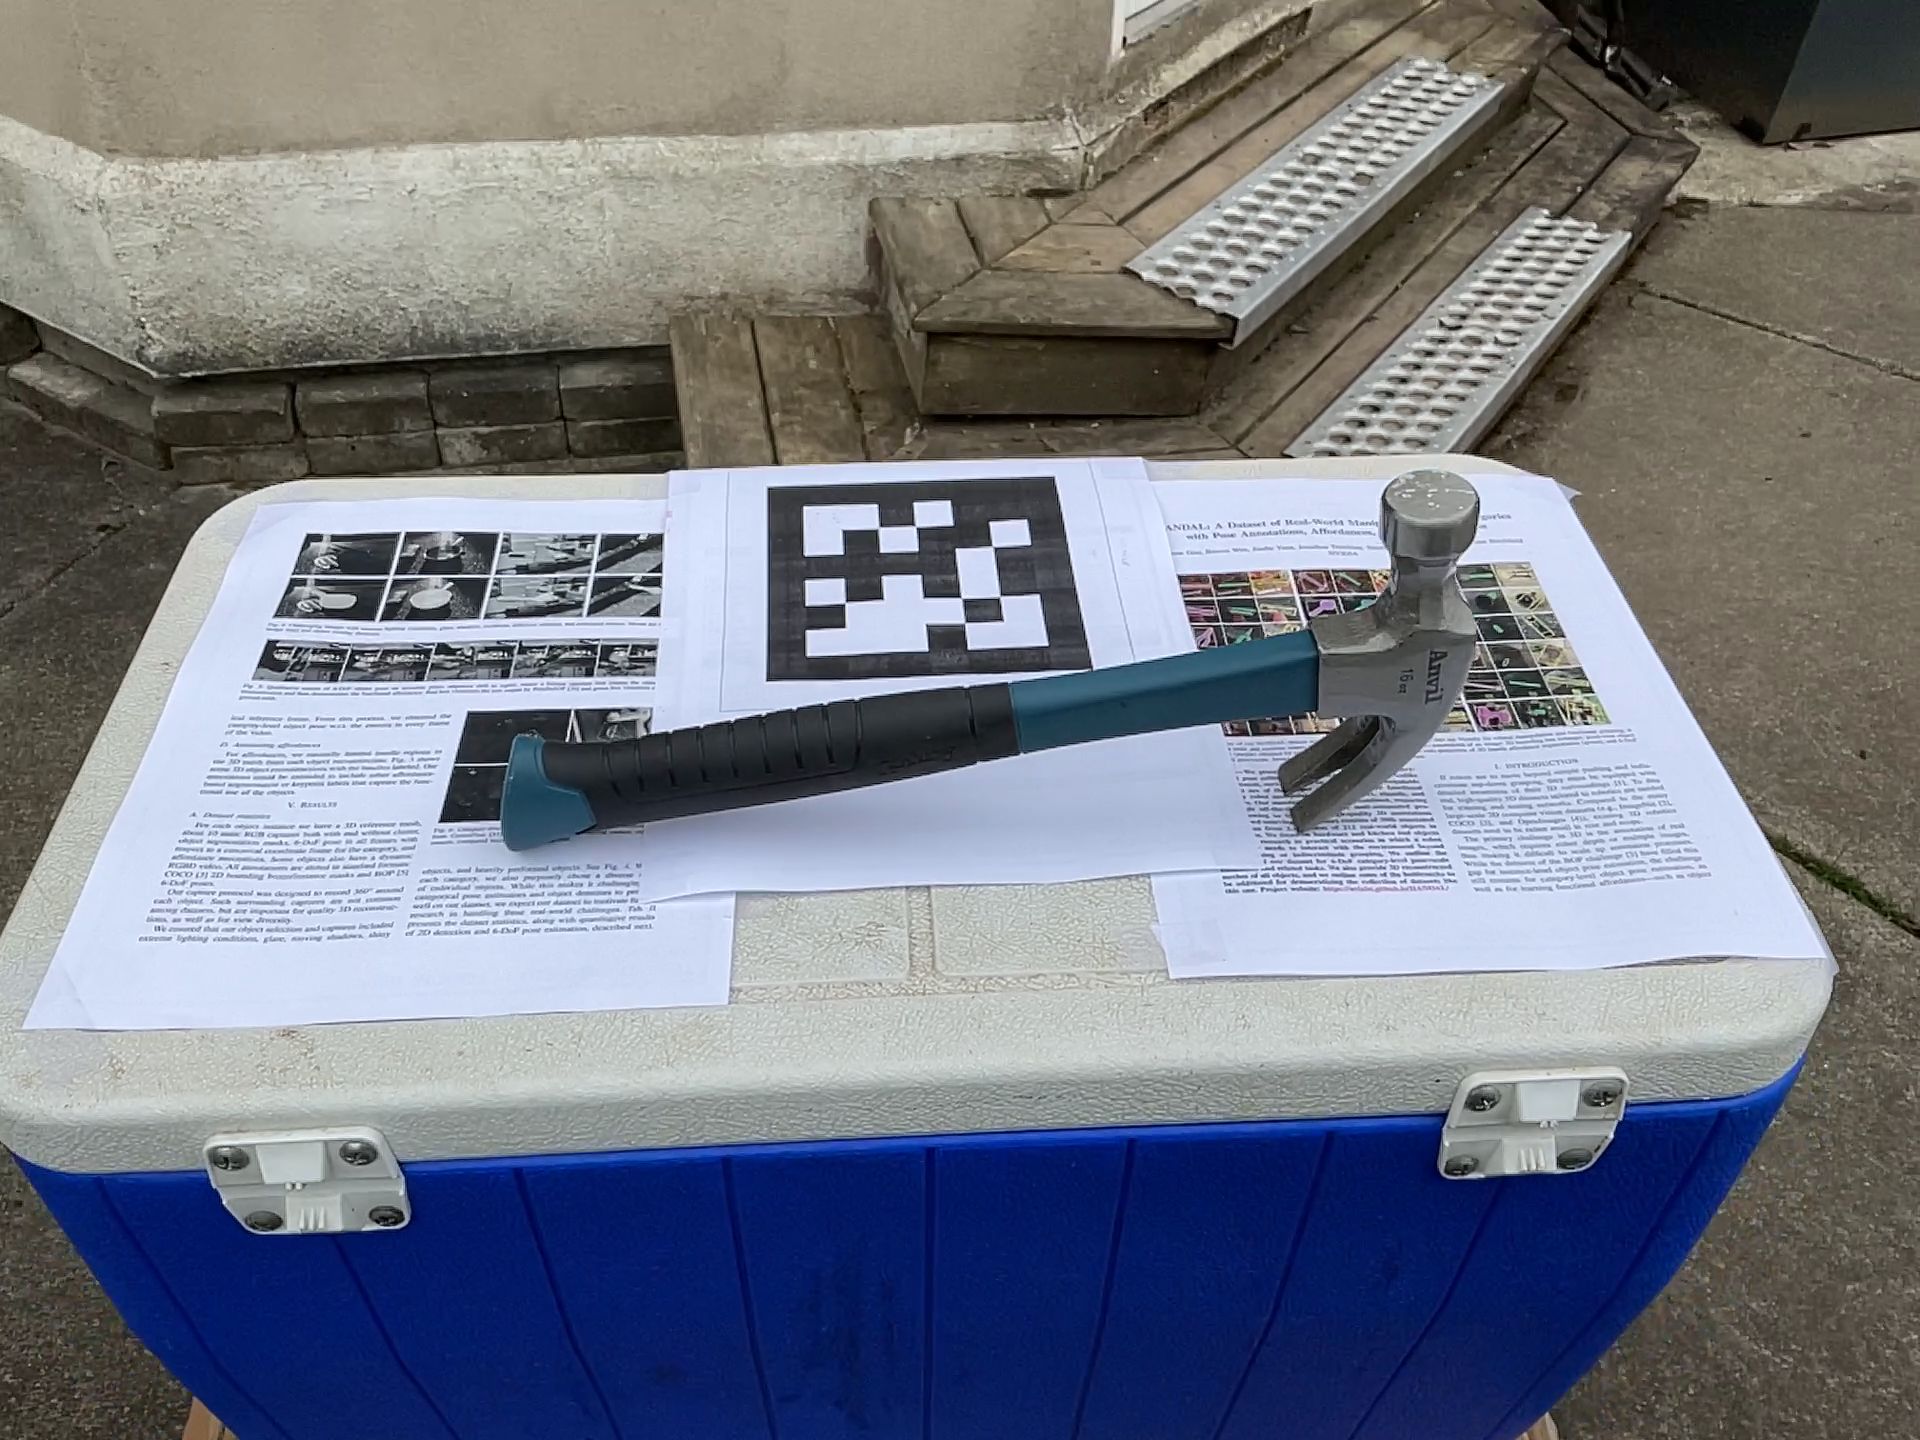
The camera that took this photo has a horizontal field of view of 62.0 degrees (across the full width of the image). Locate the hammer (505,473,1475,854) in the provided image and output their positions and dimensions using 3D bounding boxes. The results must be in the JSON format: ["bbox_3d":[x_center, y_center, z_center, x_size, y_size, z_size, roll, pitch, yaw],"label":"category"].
[{"bbox_3d":[0.005,0.001,0.543,0.331,0.128,0.033,-9,41,2],"label":"hammer"}]
